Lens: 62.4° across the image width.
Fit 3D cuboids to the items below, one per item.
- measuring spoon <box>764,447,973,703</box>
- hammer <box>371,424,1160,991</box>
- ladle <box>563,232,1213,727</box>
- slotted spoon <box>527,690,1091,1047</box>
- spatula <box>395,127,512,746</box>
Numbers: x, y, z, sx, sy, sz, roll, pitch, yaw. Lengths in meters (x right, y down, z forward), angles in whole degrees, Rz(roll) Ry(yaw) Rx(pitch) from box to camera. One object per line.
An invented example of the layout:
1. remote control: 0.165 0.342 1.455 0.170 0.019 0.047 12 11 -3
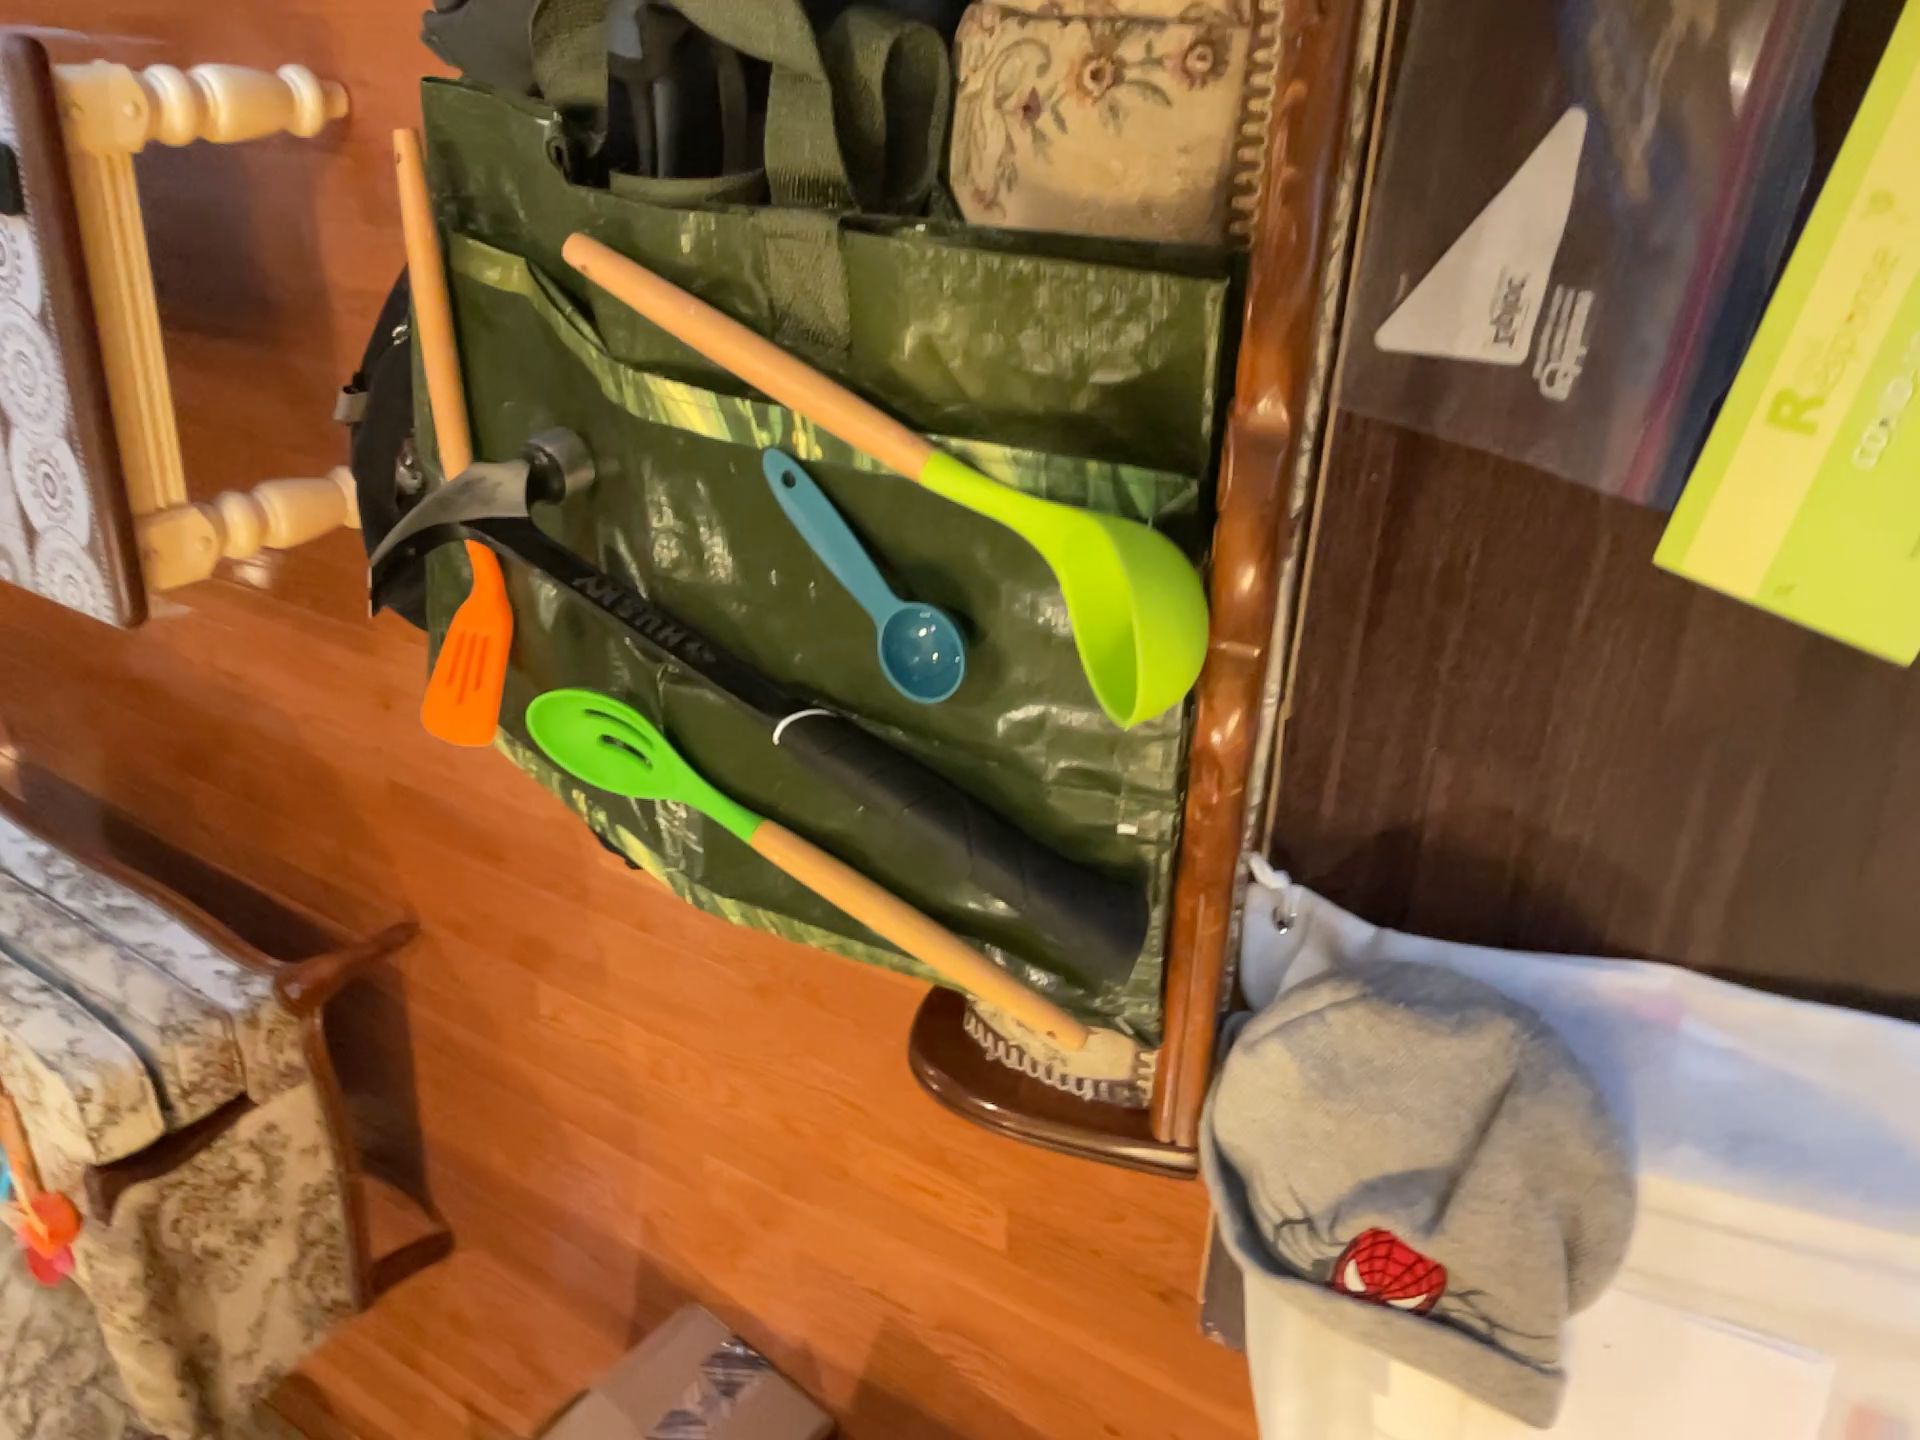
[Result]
1. measuring spoon: -0.036 -0.064 0.655 0.128 0.021 0.042 53 129 7
2. hammer: -0.086 -0.004 0.718 0.409 0.149 0.036 33 134 15
3. ladle: -0.040 -0.105 0.614 0.320 0.062 0.078 33 151 15
4. slotted spoon: -0.075 0.068 0.757 0.314 0.031 0.070 30 140 14
5. spatula: -0.279 -0.147 0.853 0.081 0.041 0.322 11 111 43
